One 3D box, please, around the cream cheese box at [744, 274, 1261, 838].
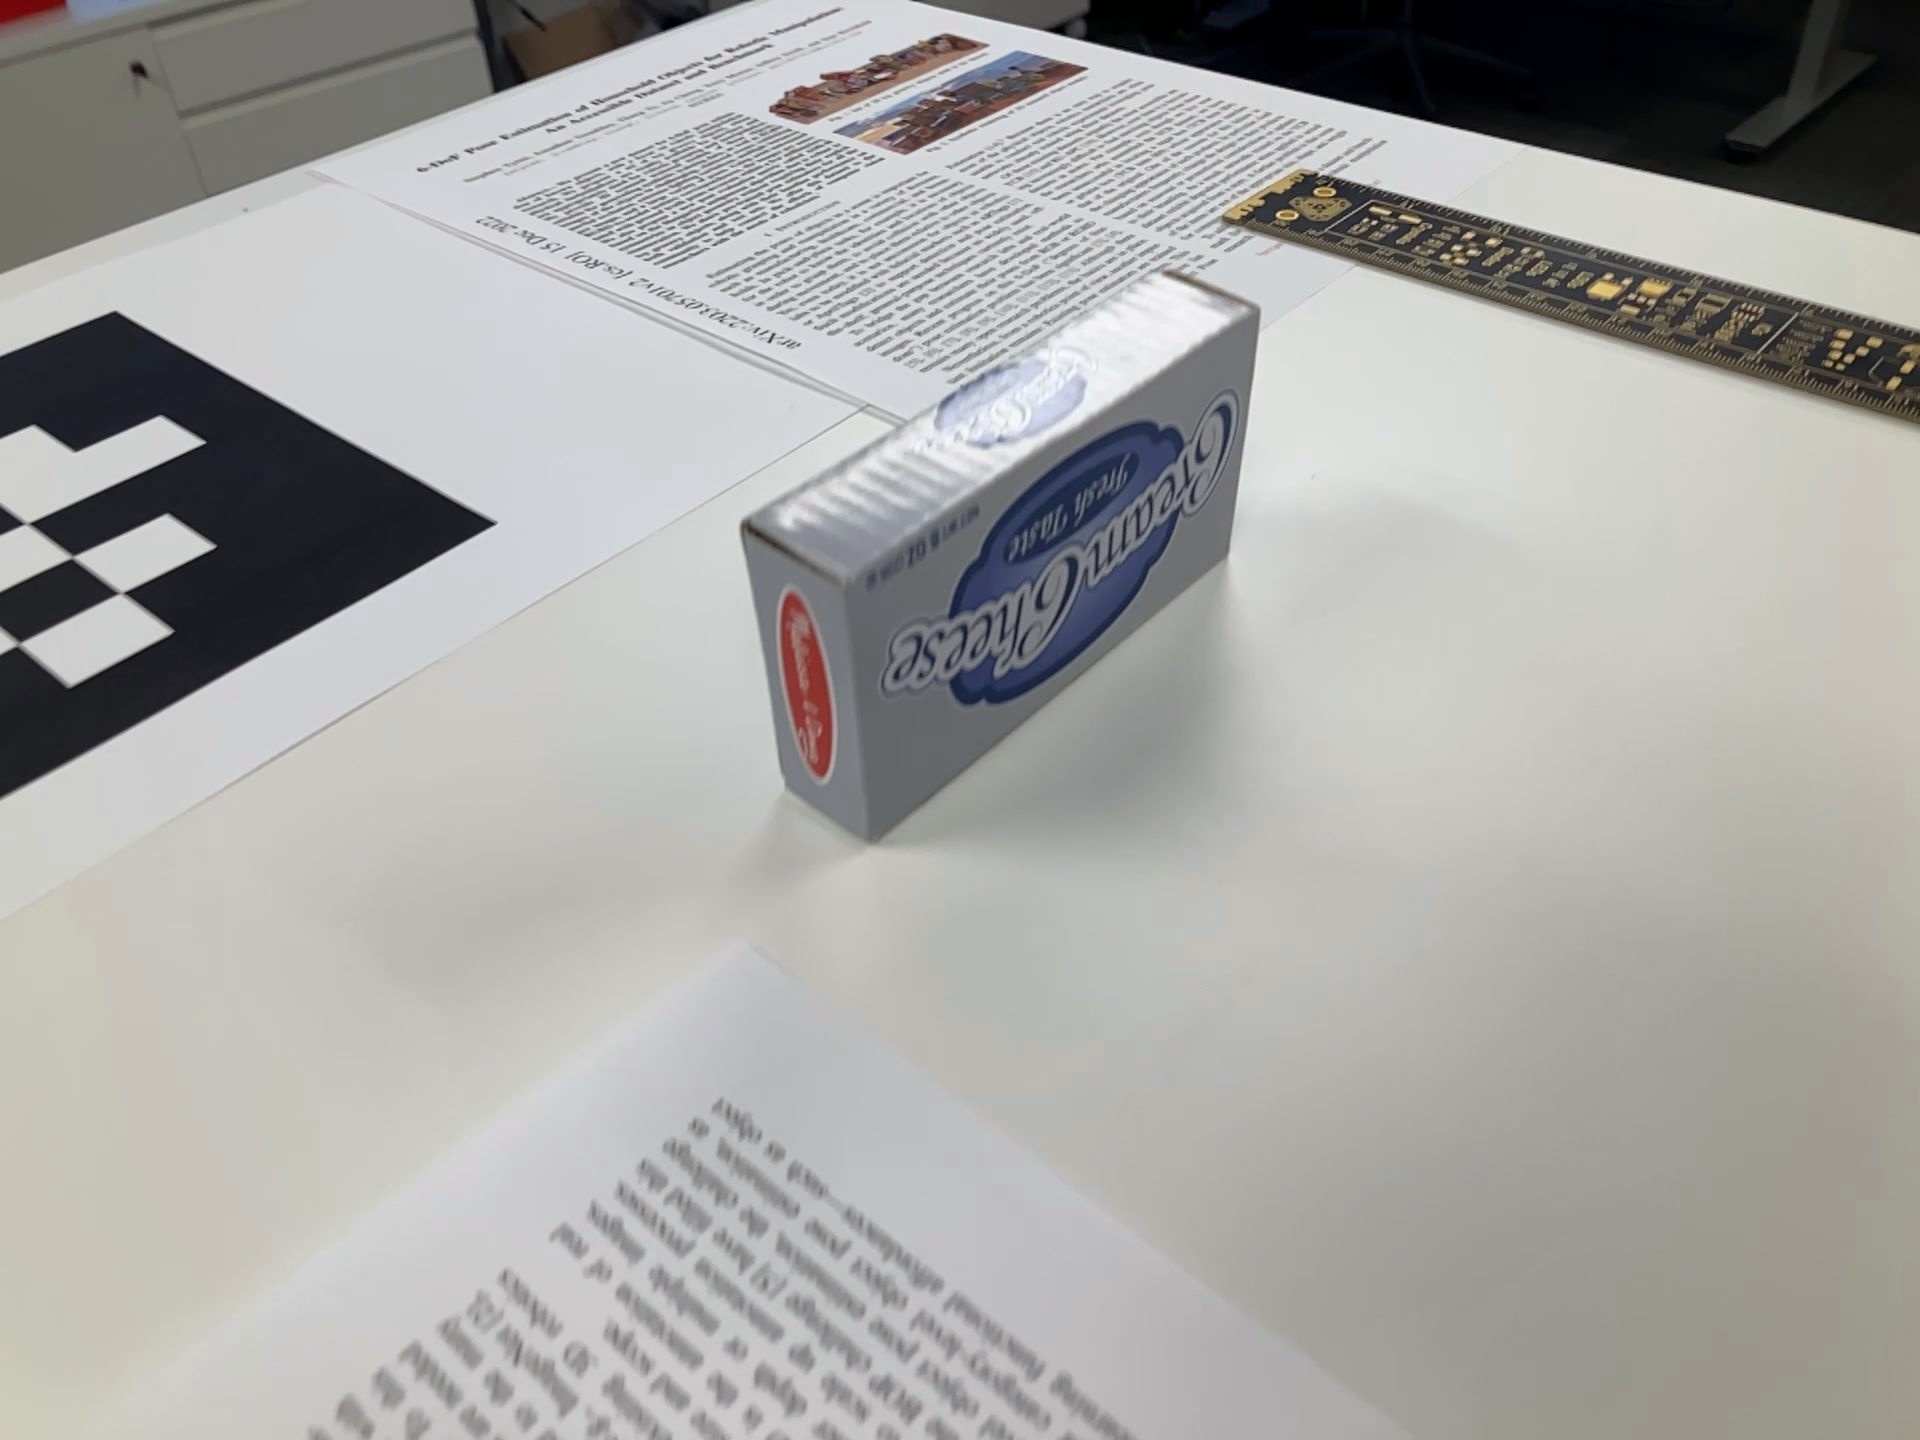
[{"bbox_3d":[0.010,-0.030,0.268,0.024,0.053,0.104,30,50,30],"label":"cream cheese box"}]
